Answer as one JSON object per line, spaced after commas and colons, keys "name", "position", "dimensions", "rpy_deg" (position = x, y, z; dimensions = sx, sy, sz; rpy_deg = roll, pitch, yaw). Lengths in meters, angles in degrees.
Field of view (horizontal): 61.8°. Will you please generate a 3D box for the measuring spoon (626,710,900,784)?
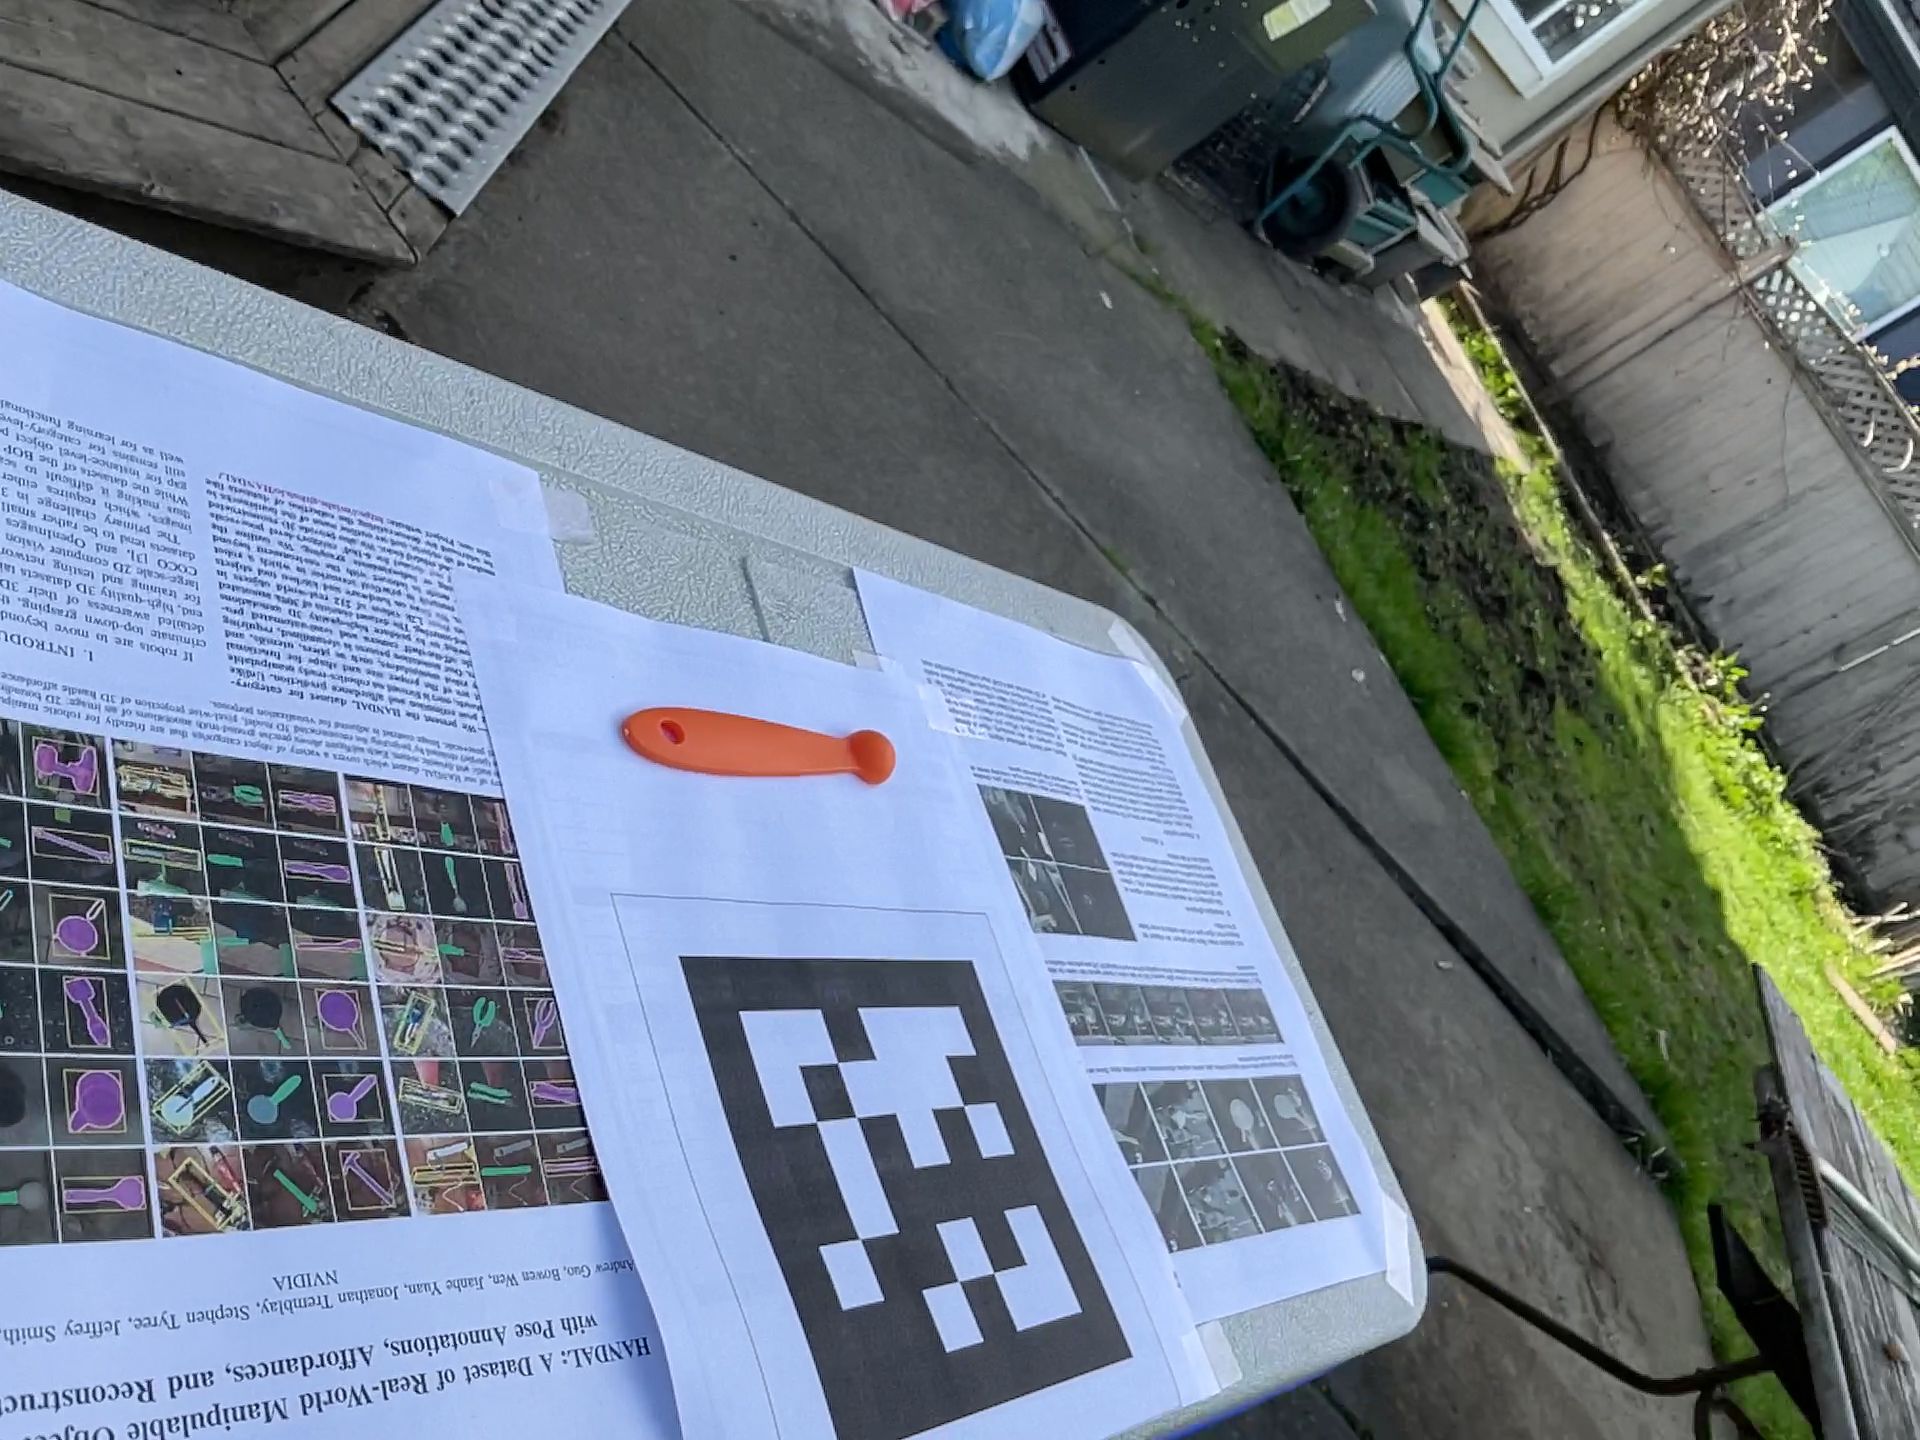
{"name": "measuring spoon", "position": [-0.056, 0.006, 0.492], "dimensions": [0.117, 0.011, 0.021], "rpy_deg": [8, 49, -53]}
